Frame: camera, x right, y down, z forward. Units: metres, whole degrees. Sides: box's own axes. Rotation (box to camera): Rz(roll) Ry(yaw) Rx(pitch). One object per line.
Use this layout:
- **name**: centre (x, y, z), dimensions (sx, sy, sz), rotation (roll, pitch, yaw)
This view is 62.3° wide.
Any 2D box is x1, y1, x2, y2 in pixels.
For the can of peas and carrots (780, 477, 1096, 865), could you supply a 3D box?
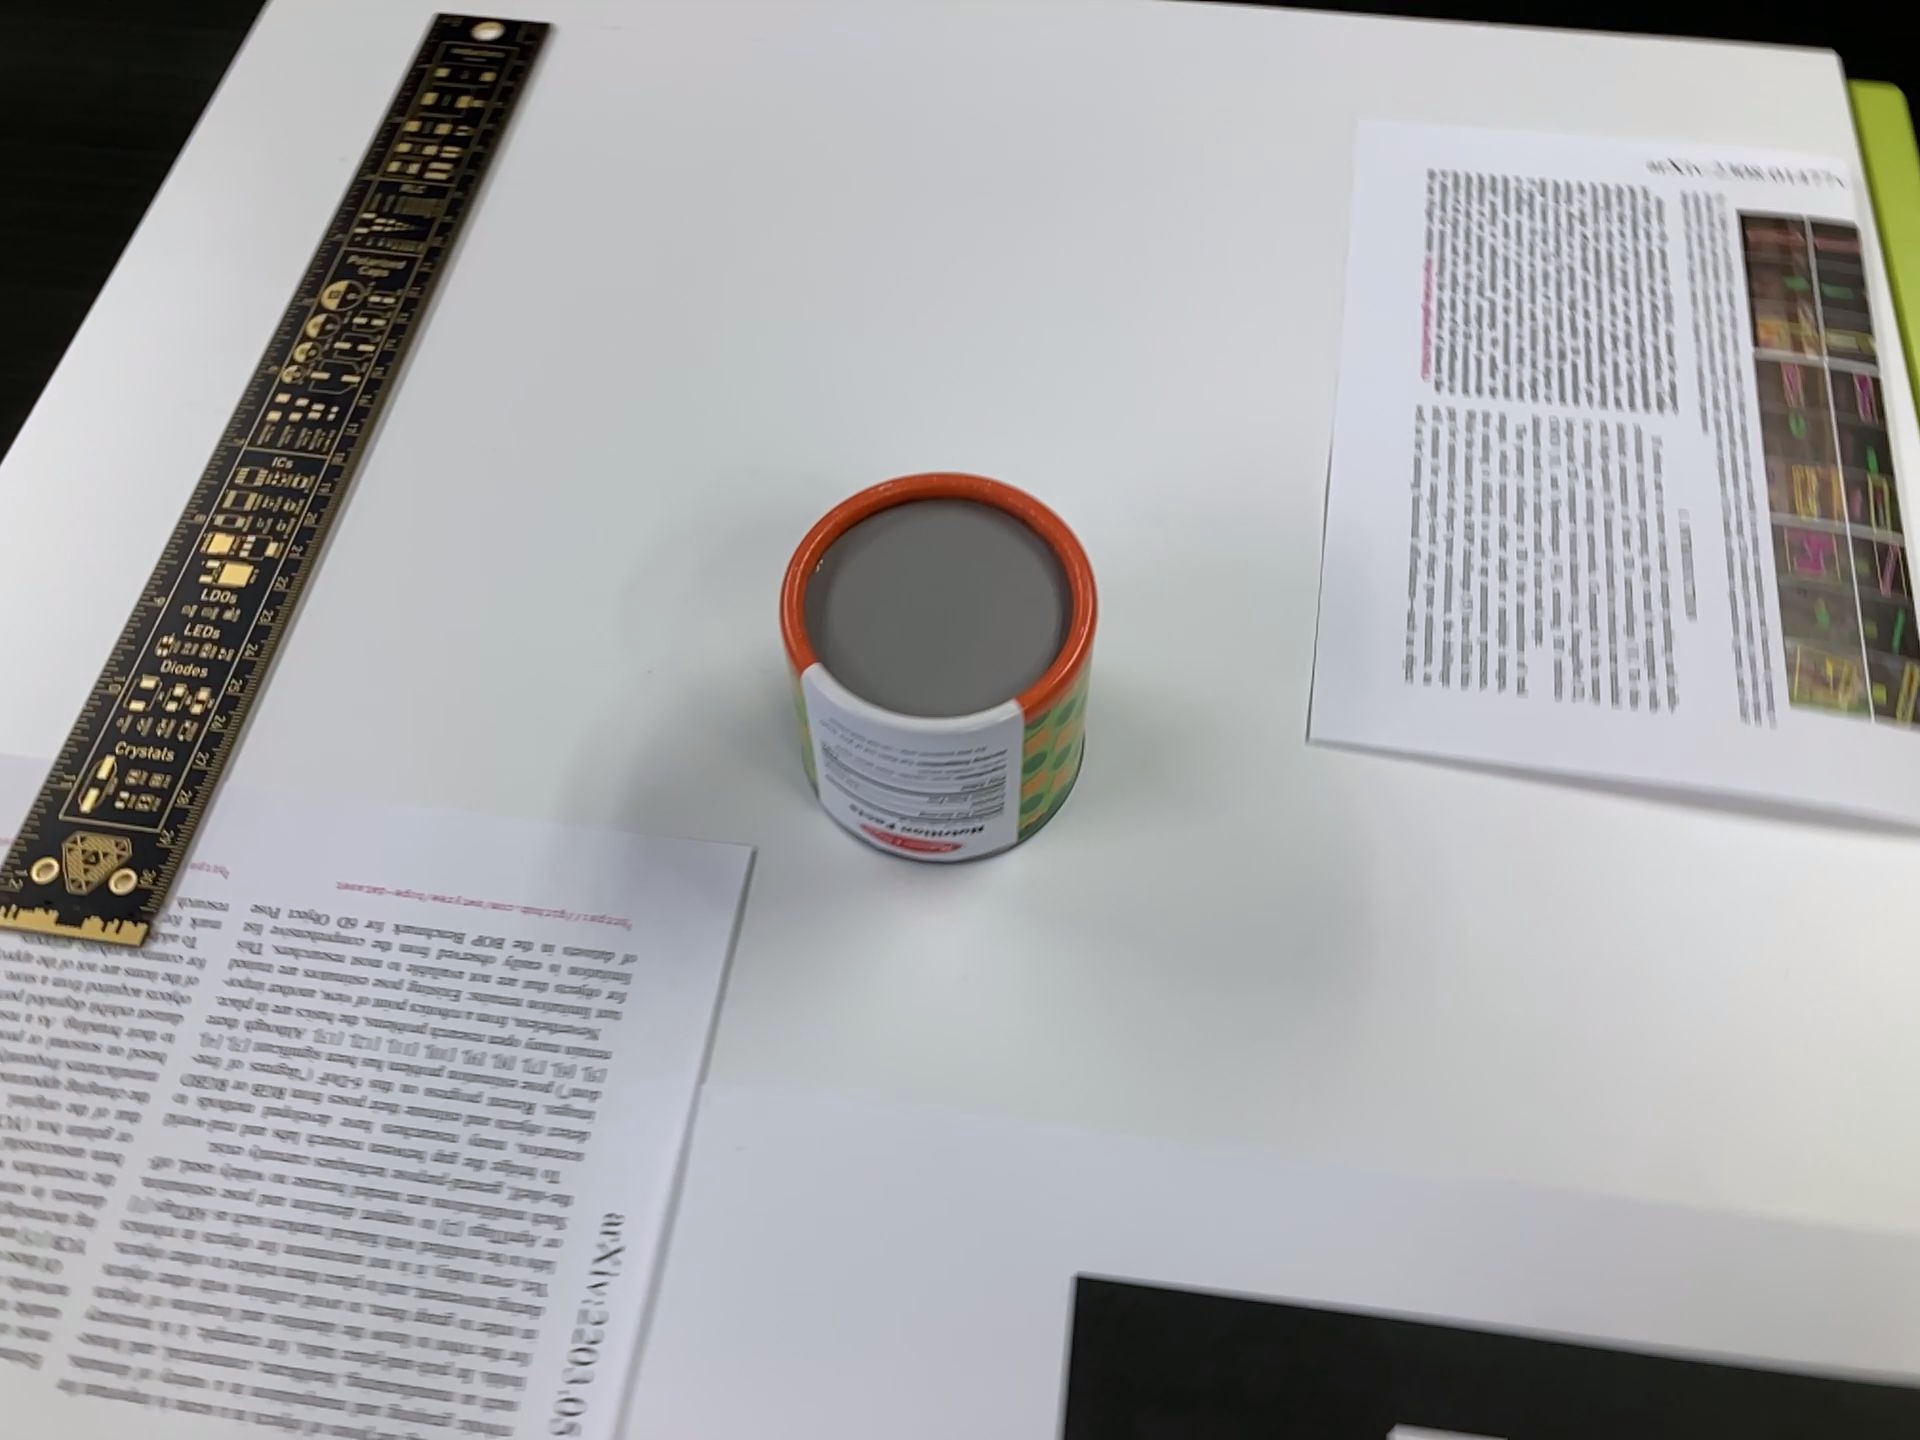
- **can of peas and carrots**: centre (-0.004, -0.013, 0.350), dimensions (0.071, 0.059, 0.071), rotation (0, 59, 0)
